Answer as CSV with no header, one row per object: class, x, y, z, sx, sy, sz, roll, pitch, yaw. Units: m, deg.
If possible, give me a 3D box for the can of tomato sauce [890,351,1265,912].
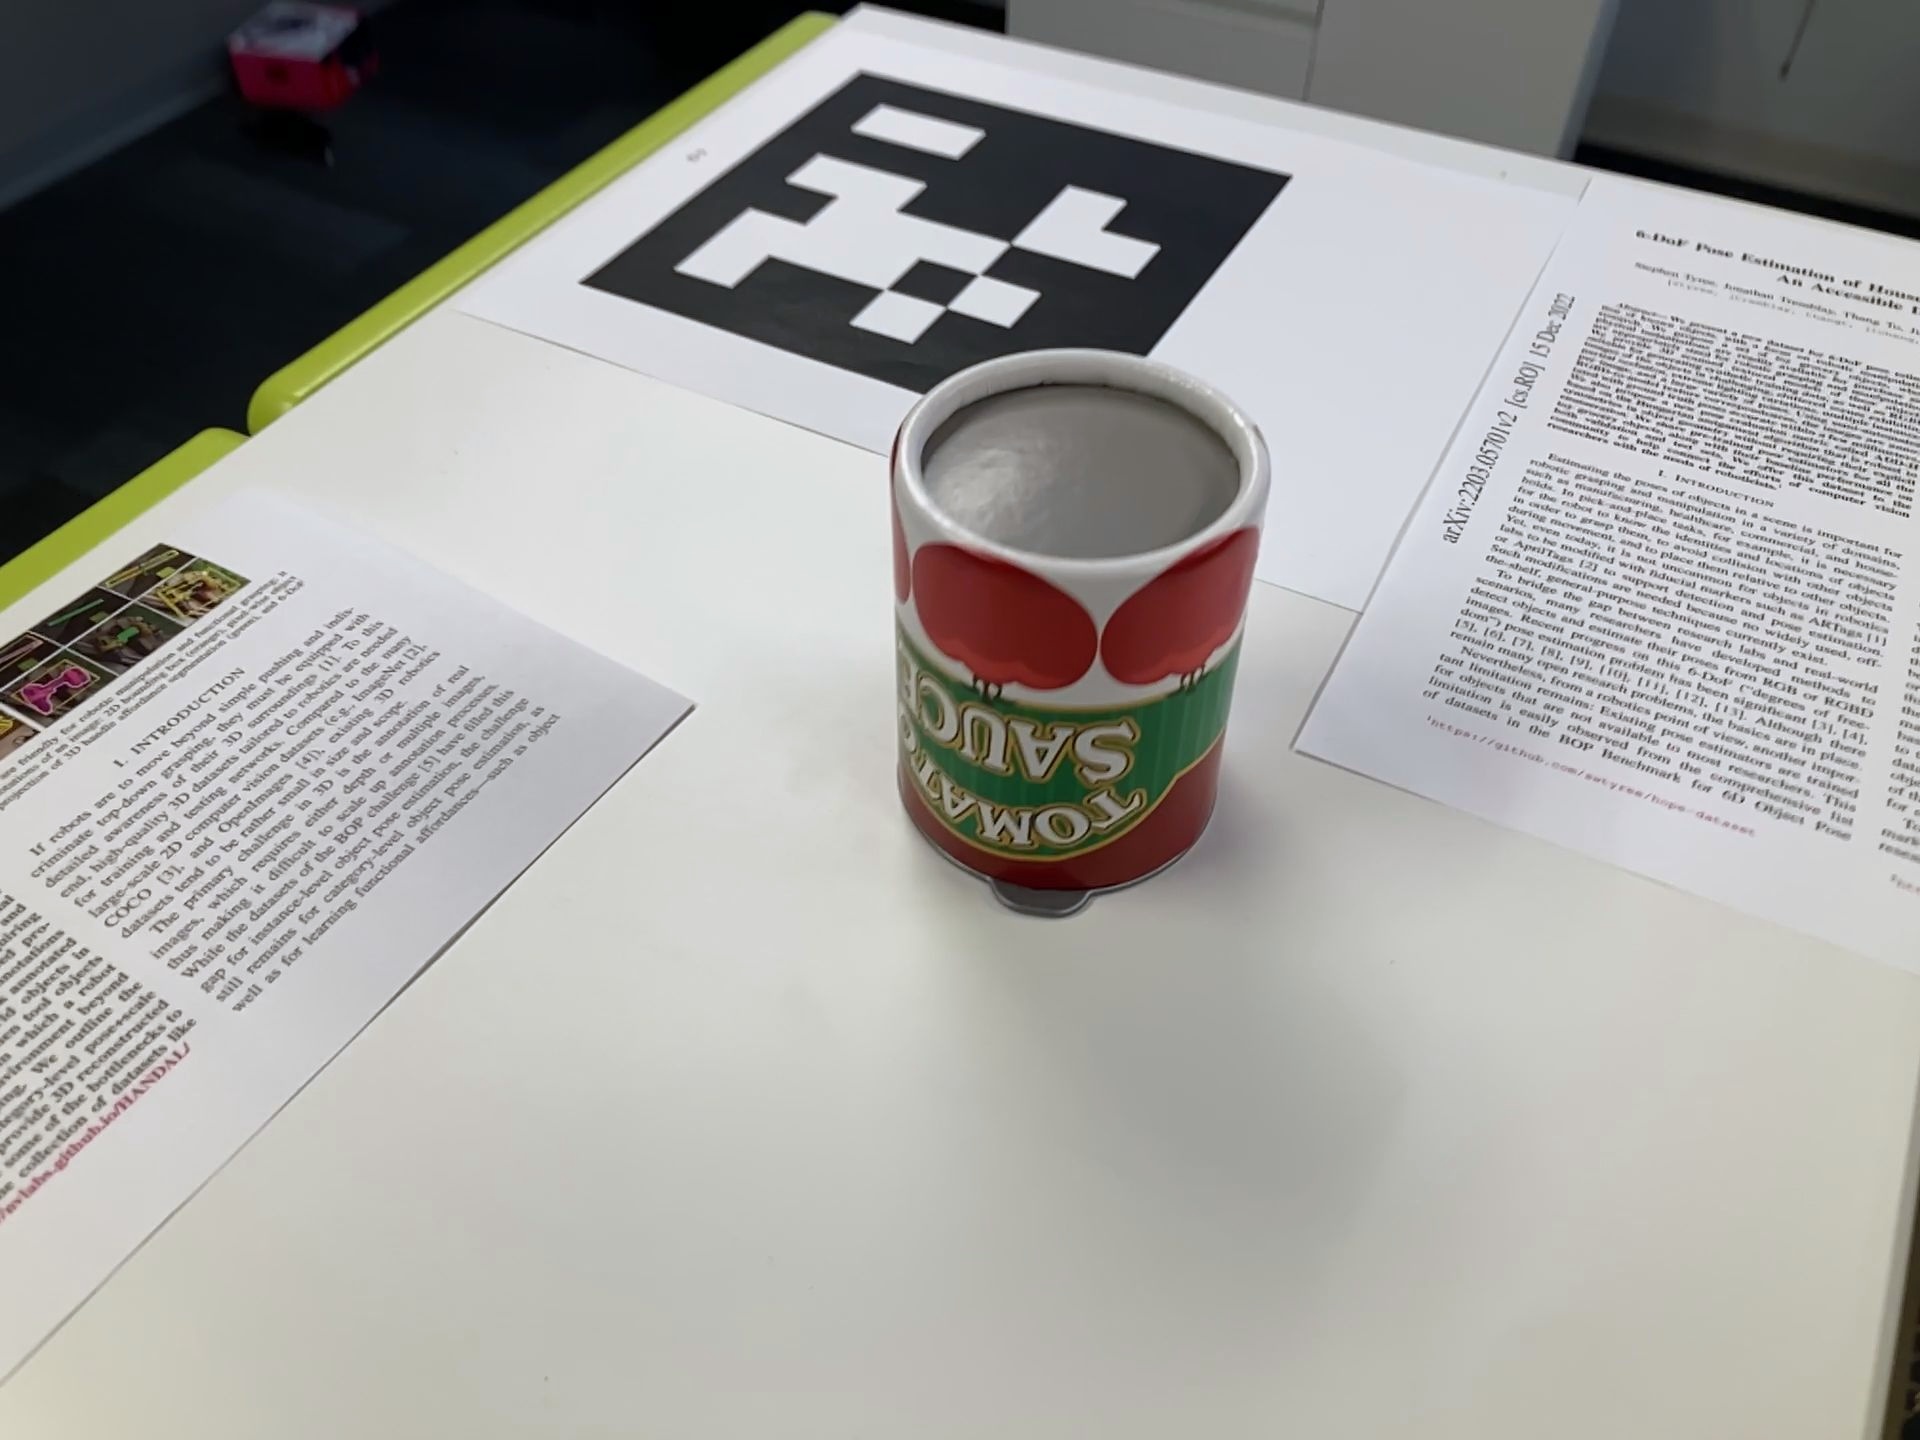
can of tomato sauce,0.019,-0.017,0.304,0.071,0.083,0.071,1,47,-1
